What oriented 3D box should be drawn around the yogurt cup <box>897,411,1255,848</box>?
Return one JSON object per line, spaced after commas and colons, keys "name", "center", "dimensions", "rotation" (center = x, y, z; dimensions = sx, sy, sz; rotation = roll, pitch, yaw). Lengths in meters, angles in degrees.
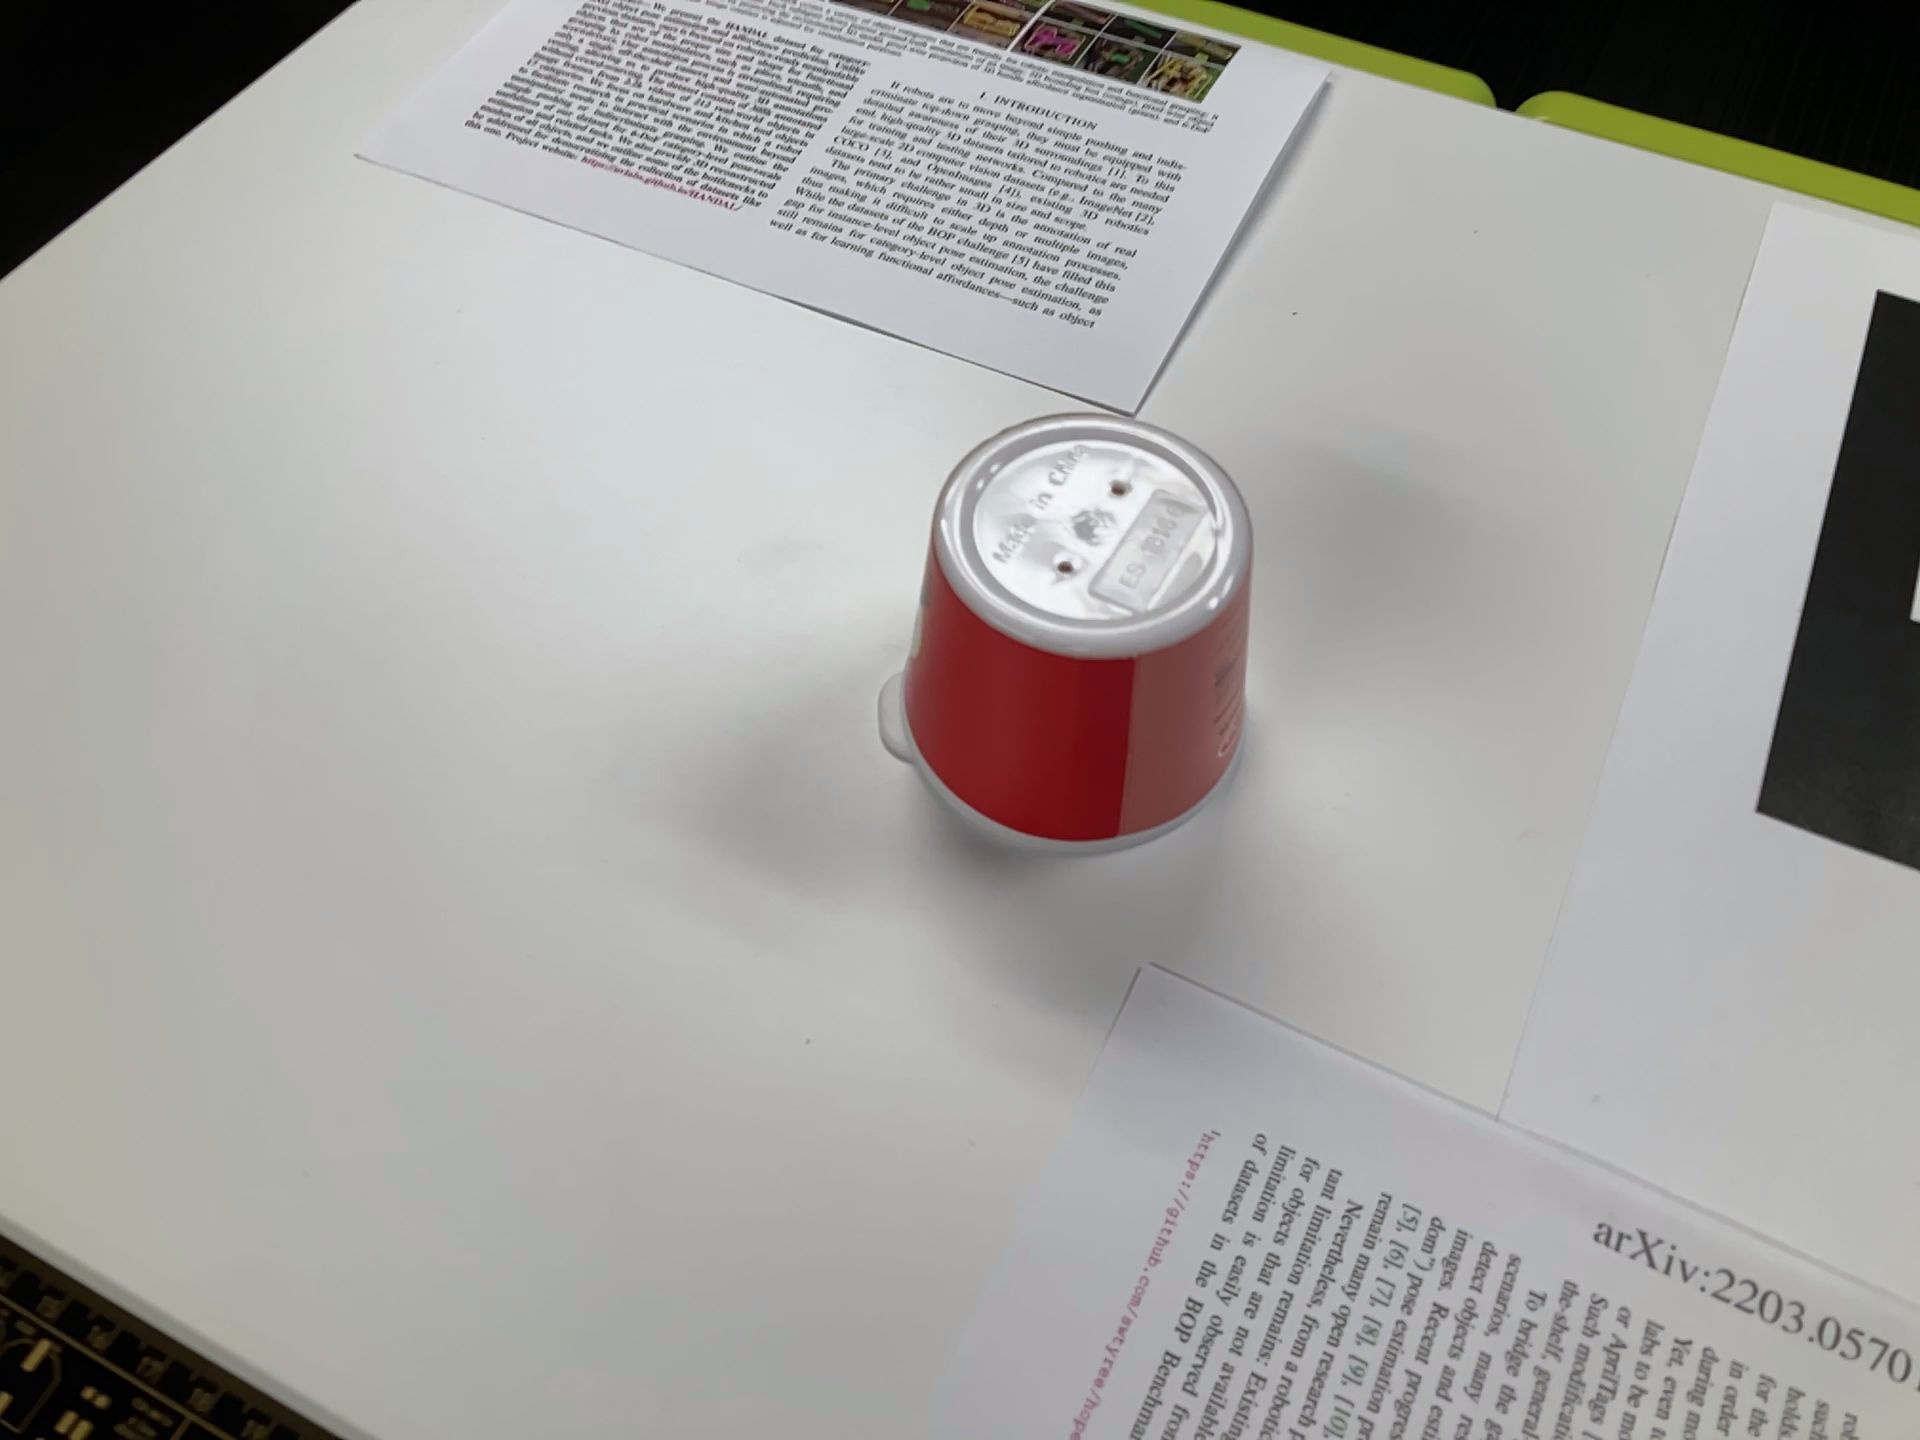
{"name": "yogurt cup", "center": [0.022, -0.018, 0.288], "dimensions": [0.072, 0.054, 0.072], "rotation": [0, 55, -1]}
